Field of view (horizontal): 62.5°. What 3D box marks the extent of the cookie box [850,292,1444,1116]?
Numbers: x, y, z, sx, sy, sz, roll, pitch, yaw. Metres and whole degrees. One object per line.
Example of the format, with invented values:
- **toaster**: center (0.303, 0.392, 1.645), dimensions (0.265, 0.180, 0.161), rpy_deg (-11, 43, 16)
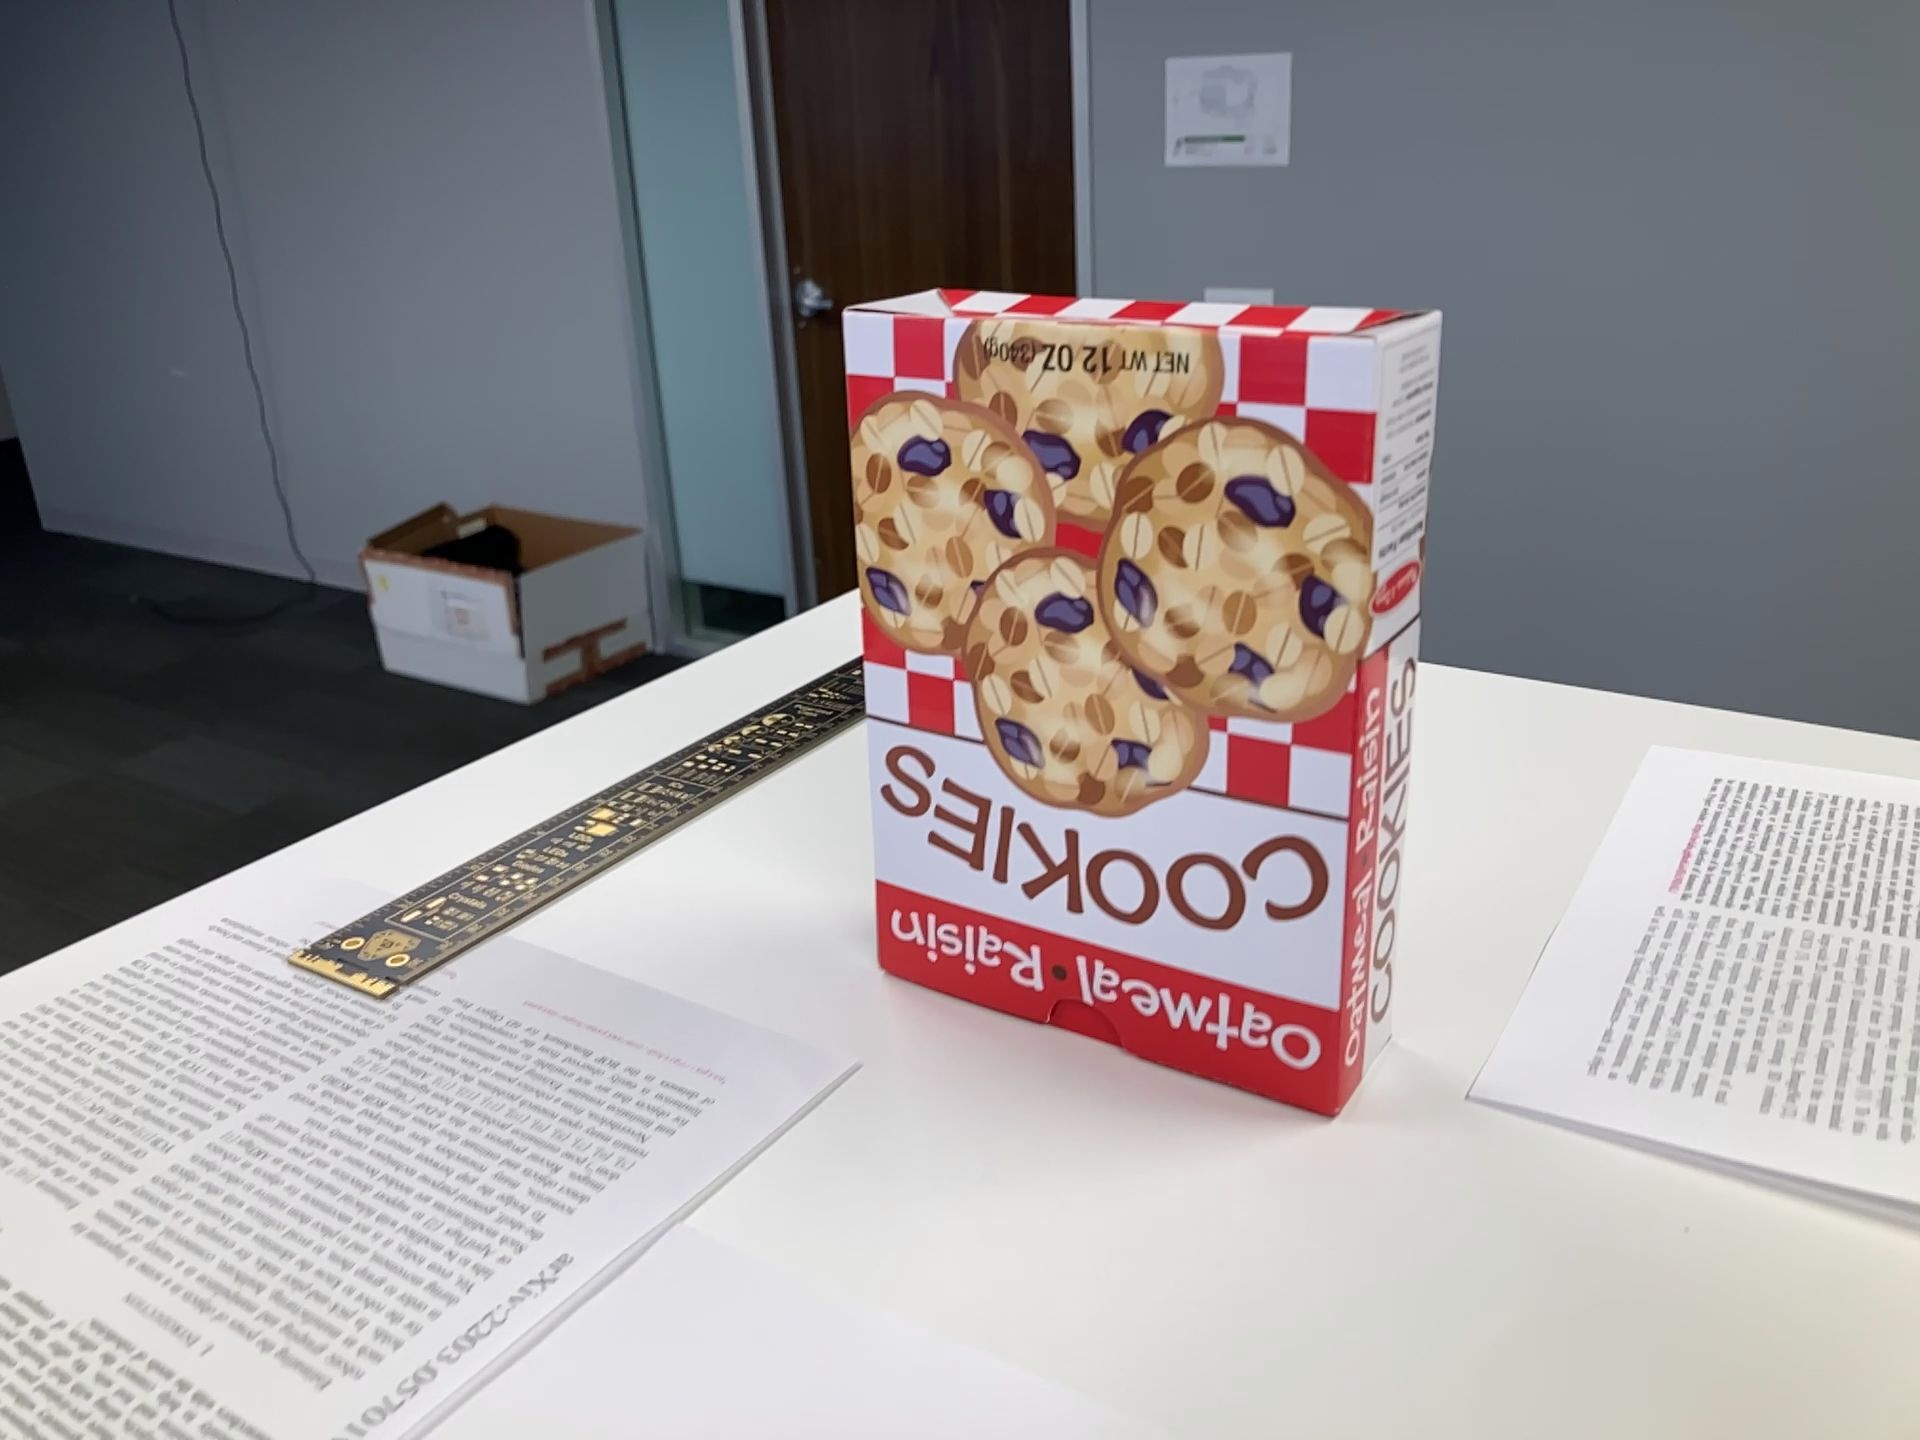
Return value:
- **cookie box**: center (0.037, -0.007, 0.360), dimensions (0.123, 0.167, 0.040), rpy_deg (12, 25, 32)
